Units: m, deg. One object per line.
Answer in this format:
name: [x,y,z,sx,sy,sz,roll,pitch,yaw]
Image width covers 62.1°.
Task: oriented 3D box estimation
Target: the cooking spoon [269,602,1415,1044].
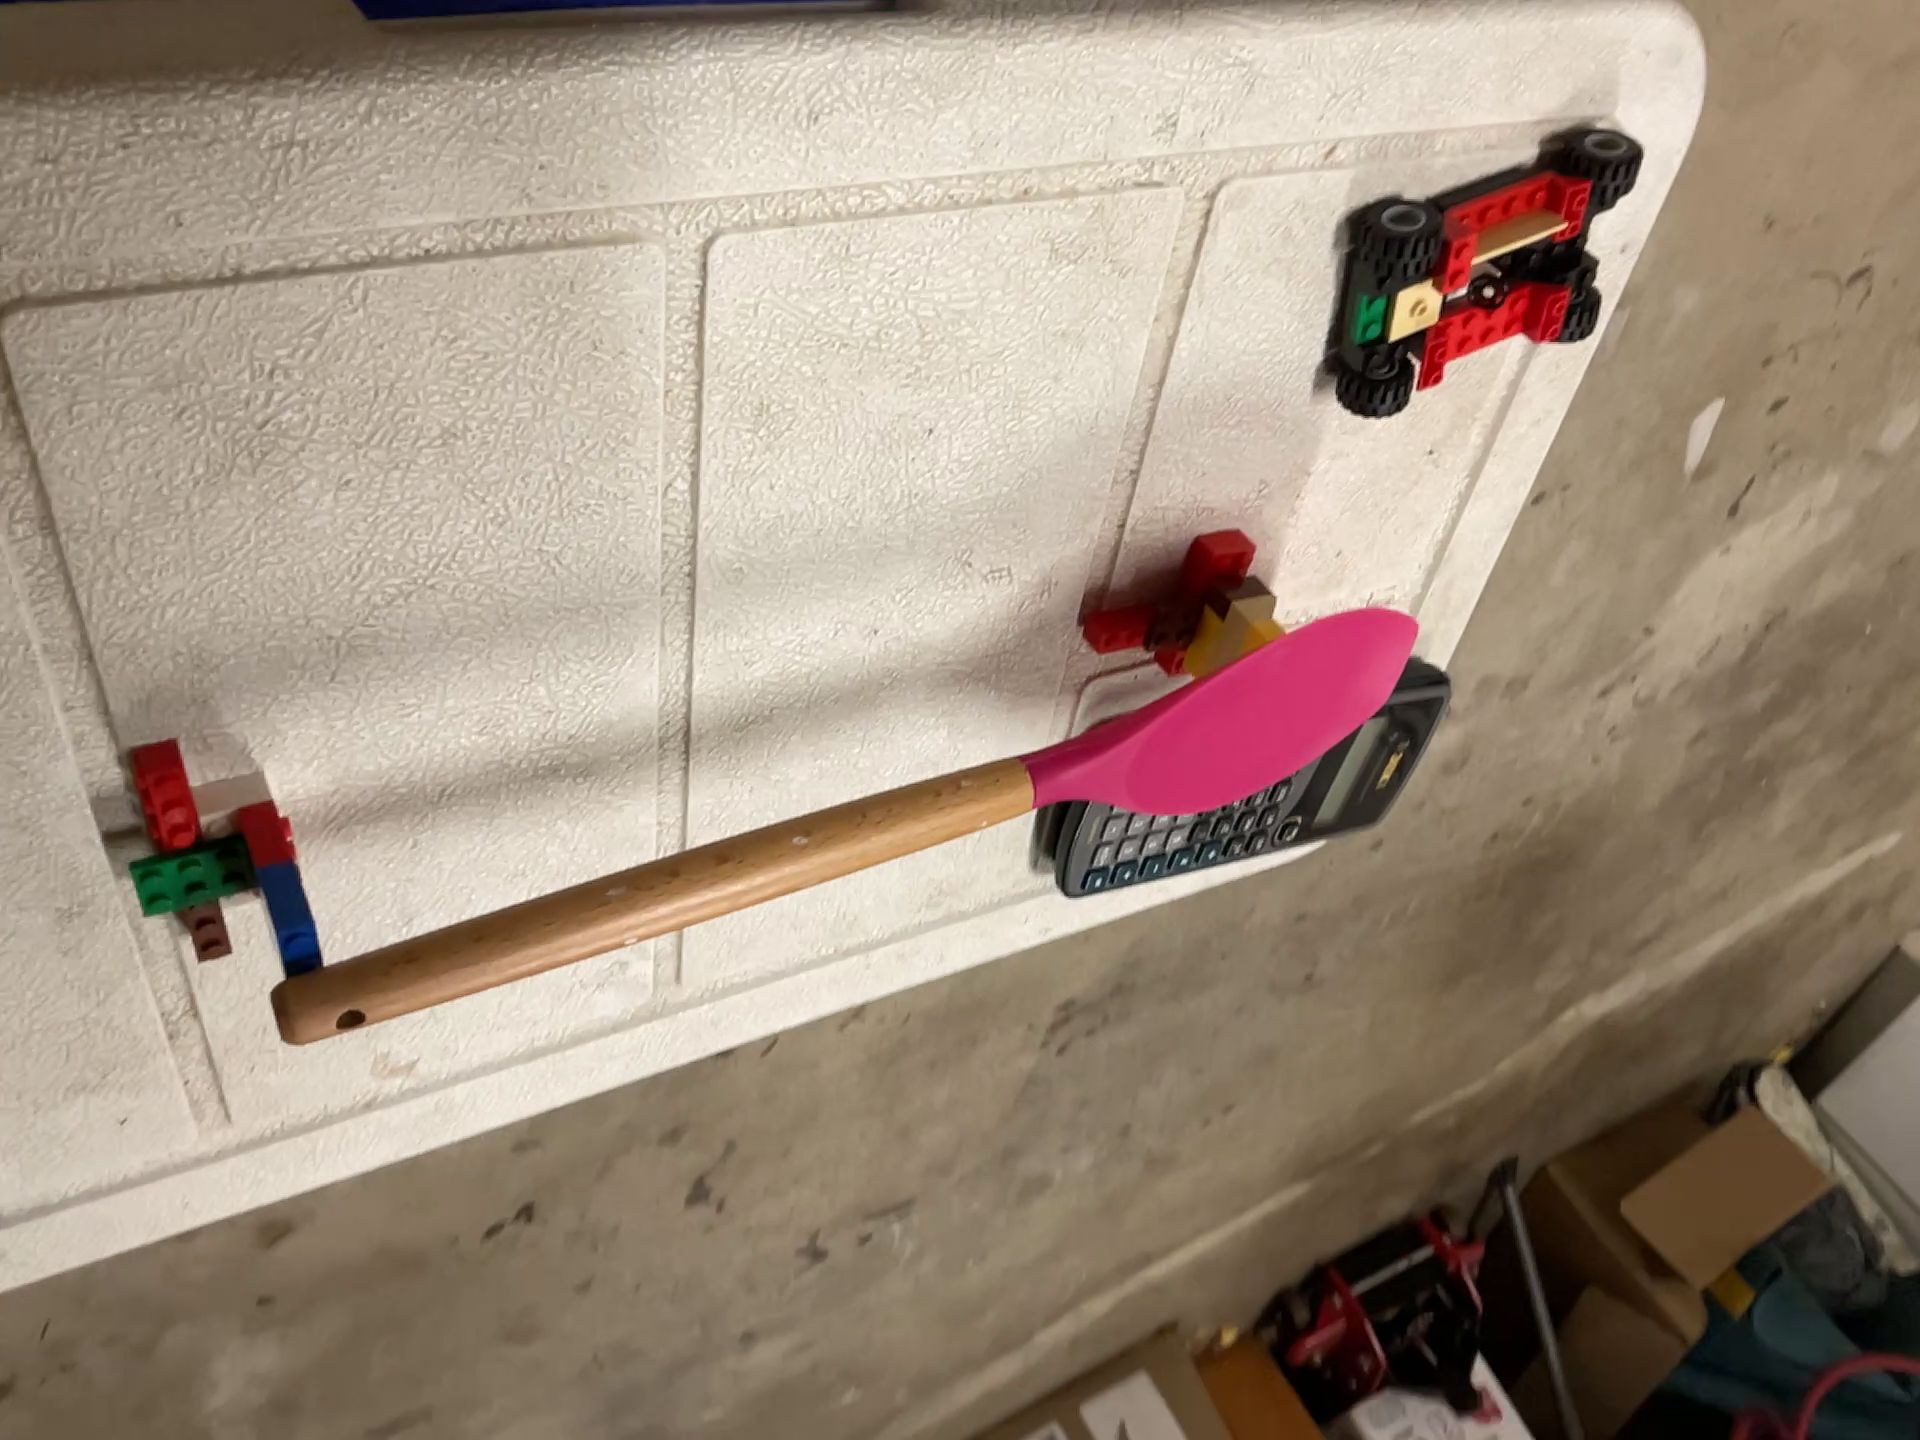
cooking spoon: [-0.007,0.022,0.406,0.319,0.017,0.068,-16,139,-26]
